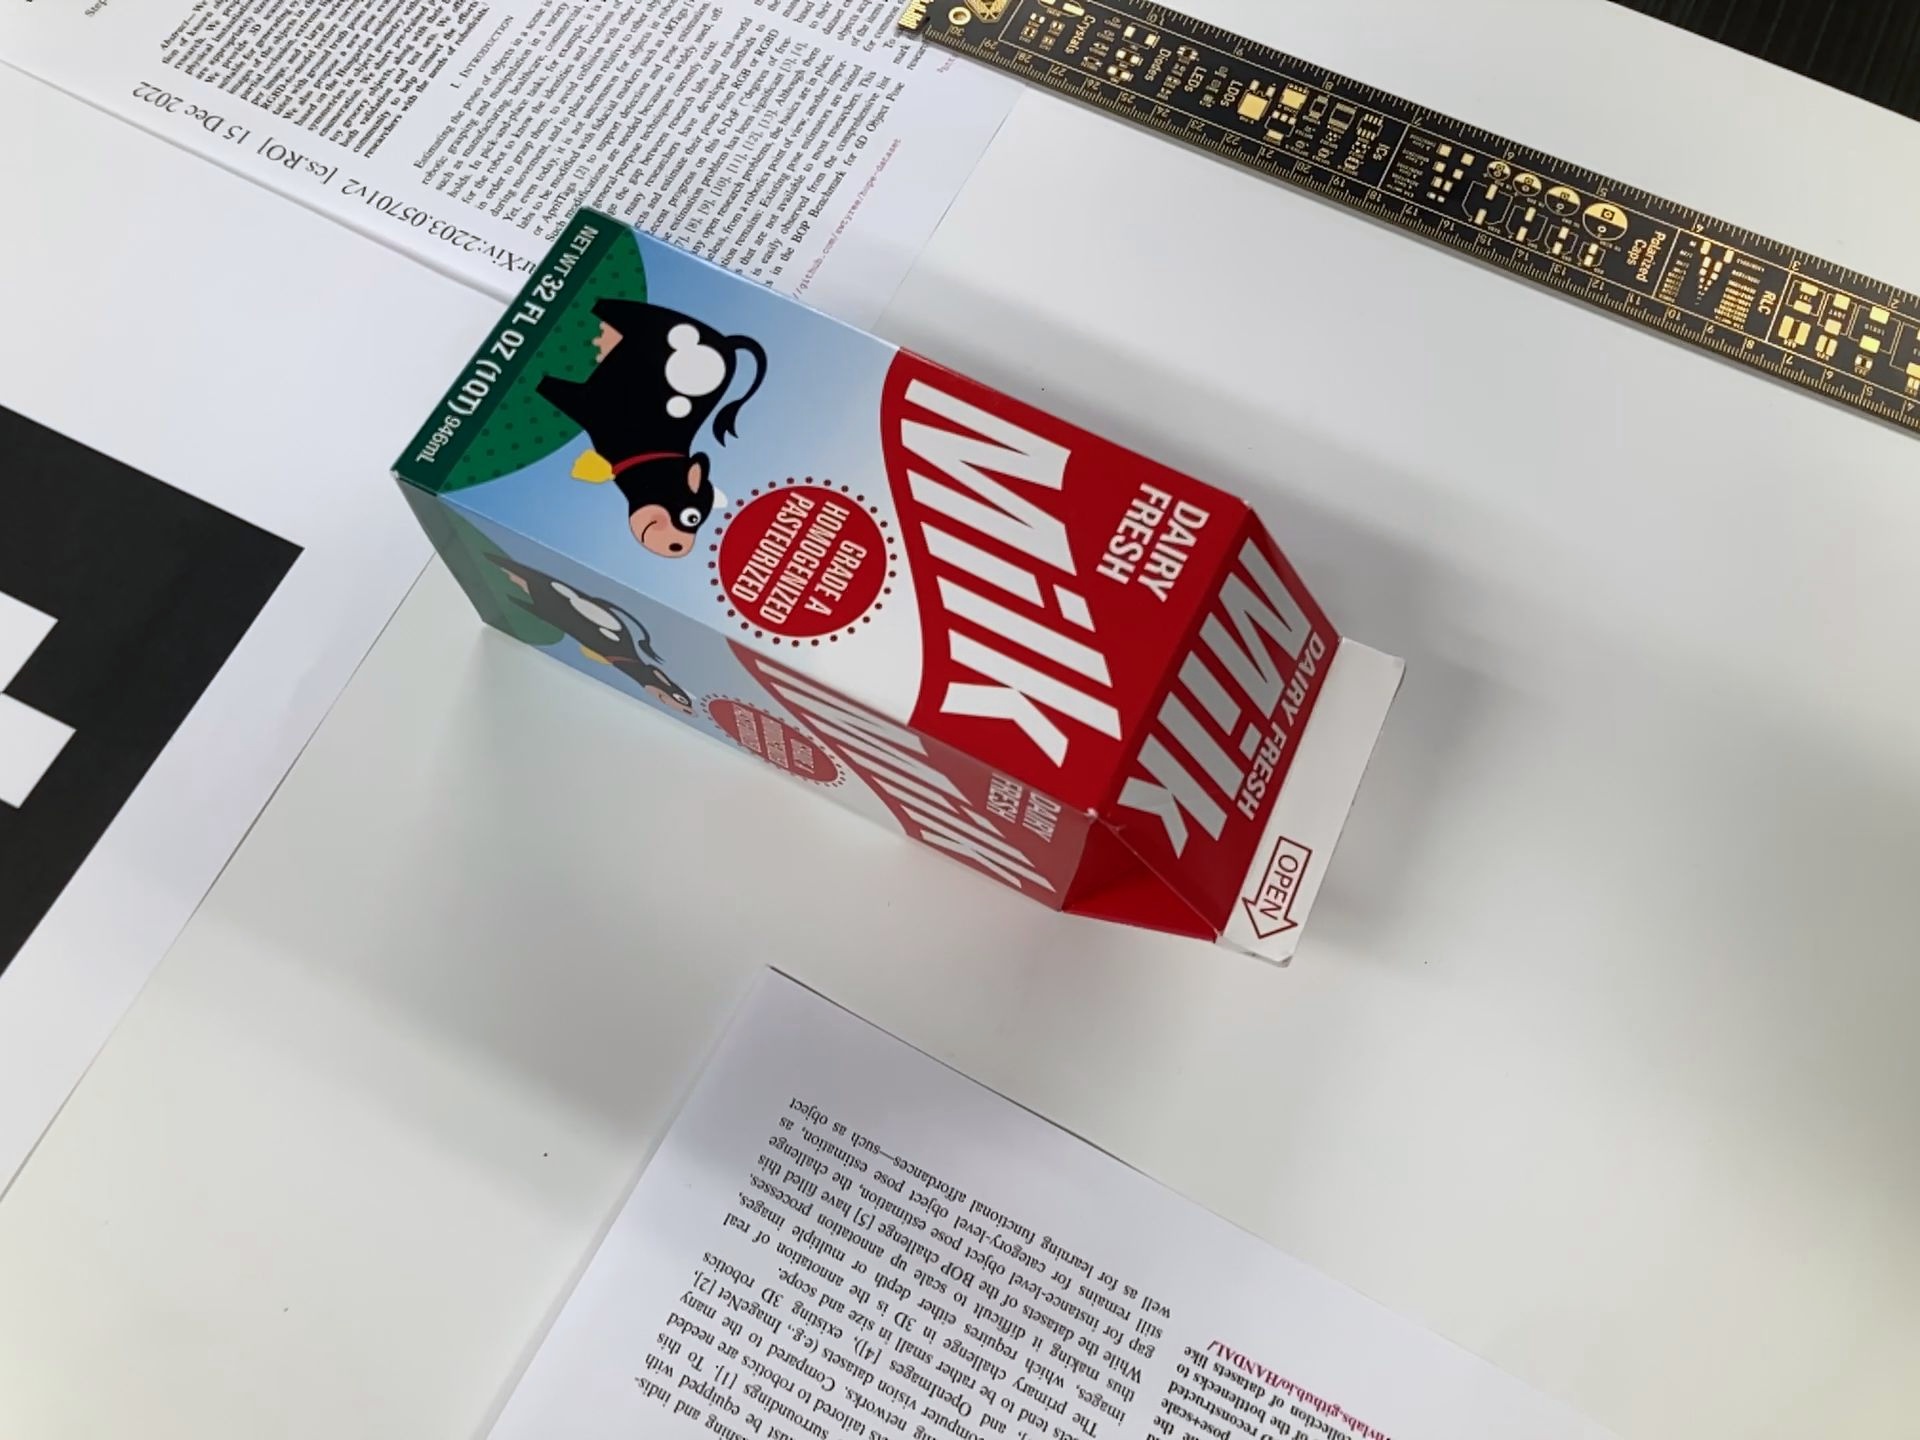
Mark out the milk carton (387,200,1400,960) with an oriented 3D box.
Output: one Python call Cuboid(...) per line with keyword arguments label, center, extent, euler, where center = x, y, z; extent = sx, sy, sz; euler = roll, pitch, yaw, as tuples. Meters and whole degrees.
Cuboid(label="milk carton", center=(-0.009, -0.023, 0.327), extent=(0.190, 0.073, 0.072), euler=(26, 70, 8))
